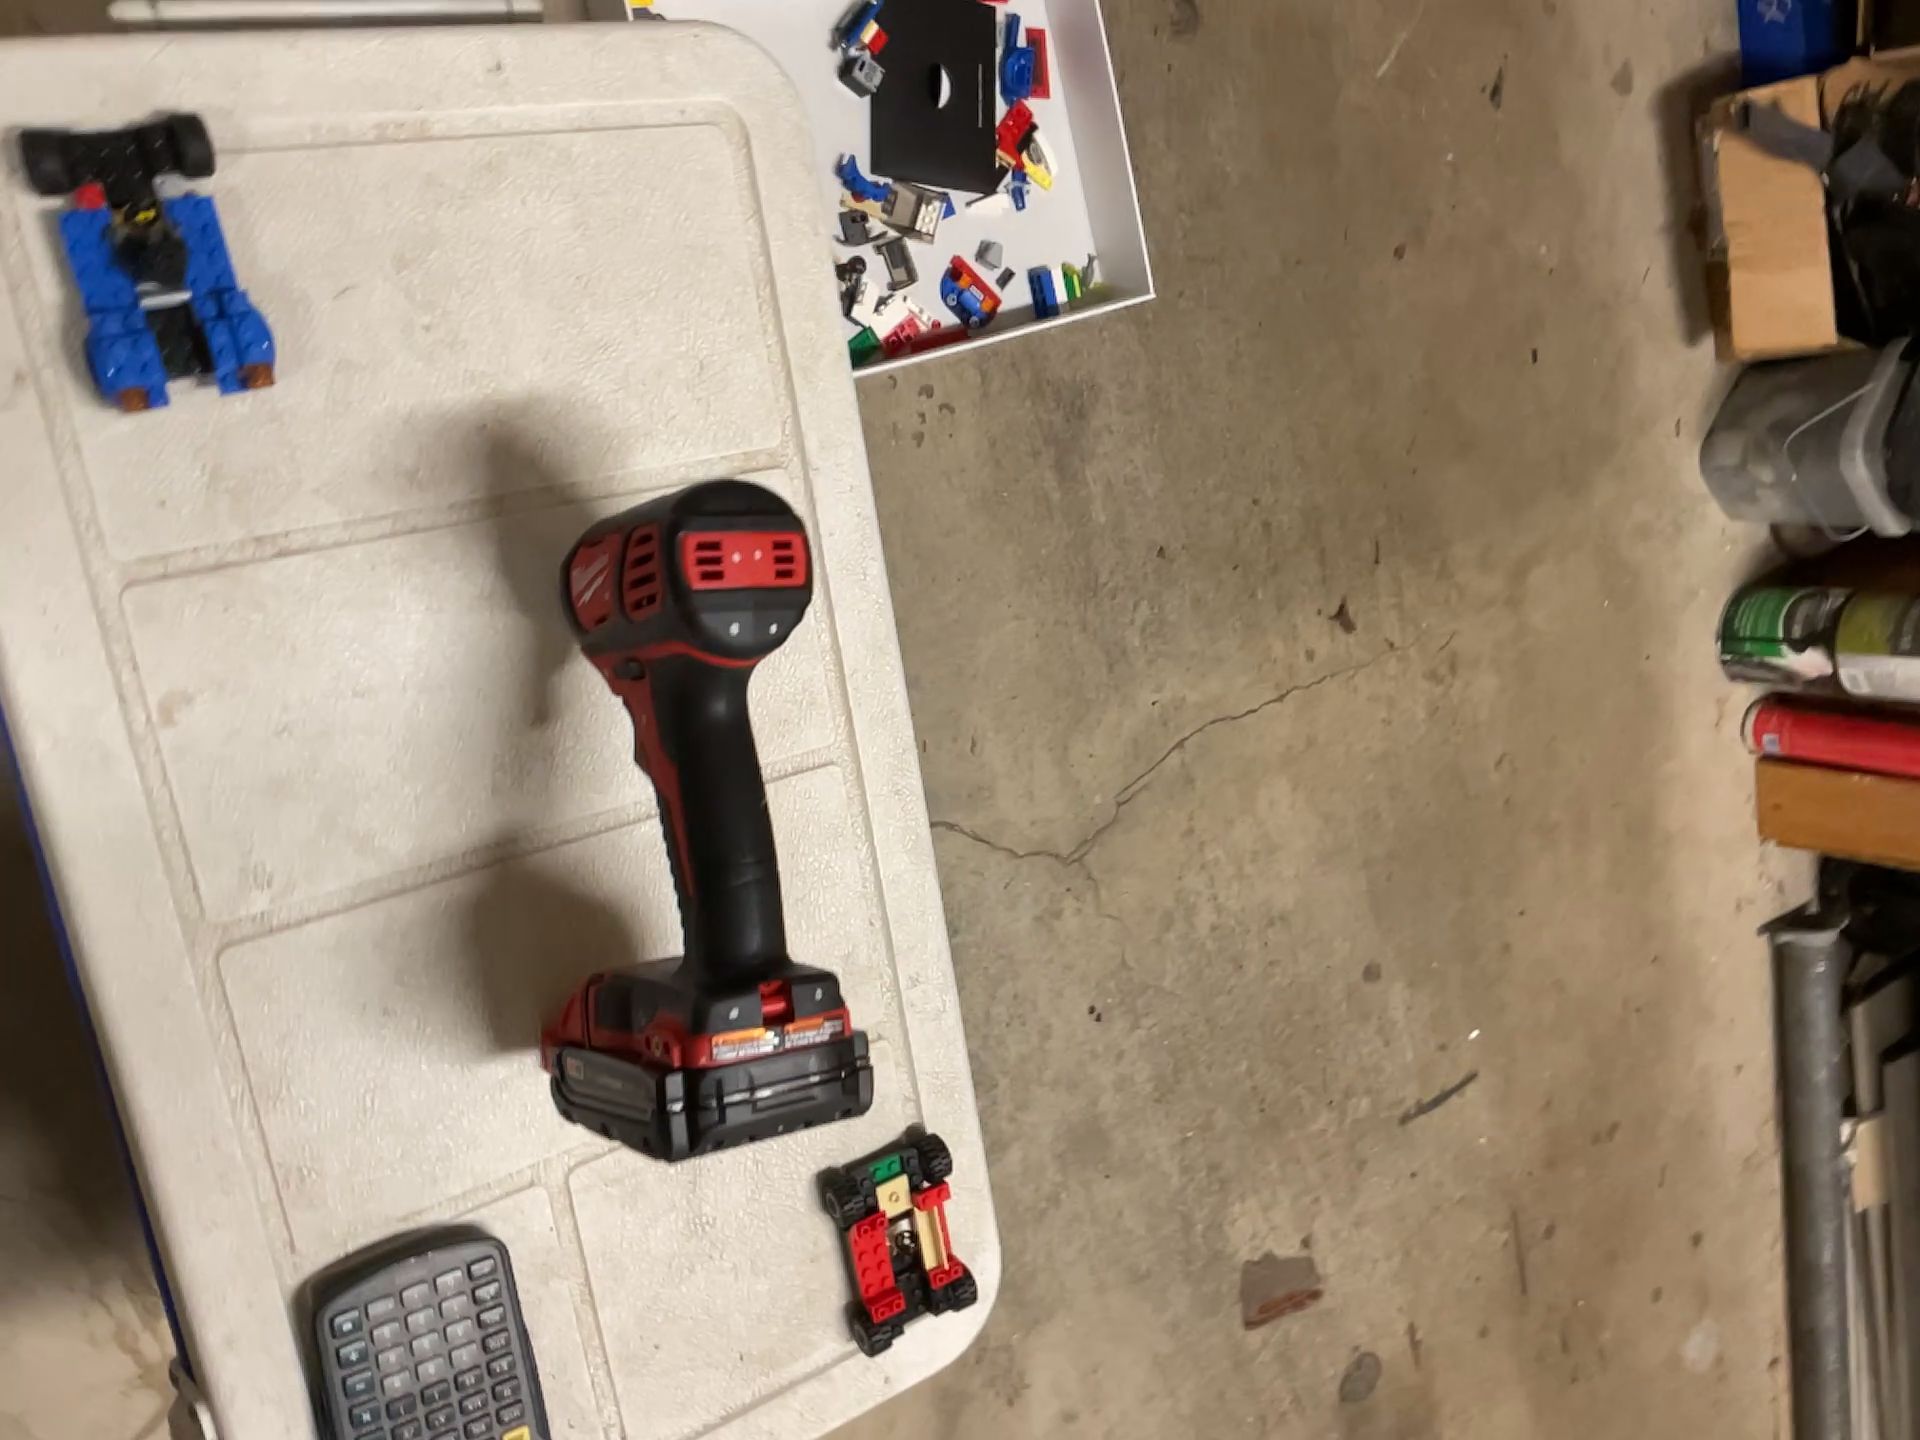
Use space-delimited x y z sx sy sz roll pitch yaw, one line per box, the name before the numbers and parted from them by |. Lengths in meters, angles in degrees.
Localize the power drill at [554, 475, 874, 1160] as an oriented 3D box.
power drill | -0.100 0.031 0.569 0.078 0.143 0.220 -5 90 -35
